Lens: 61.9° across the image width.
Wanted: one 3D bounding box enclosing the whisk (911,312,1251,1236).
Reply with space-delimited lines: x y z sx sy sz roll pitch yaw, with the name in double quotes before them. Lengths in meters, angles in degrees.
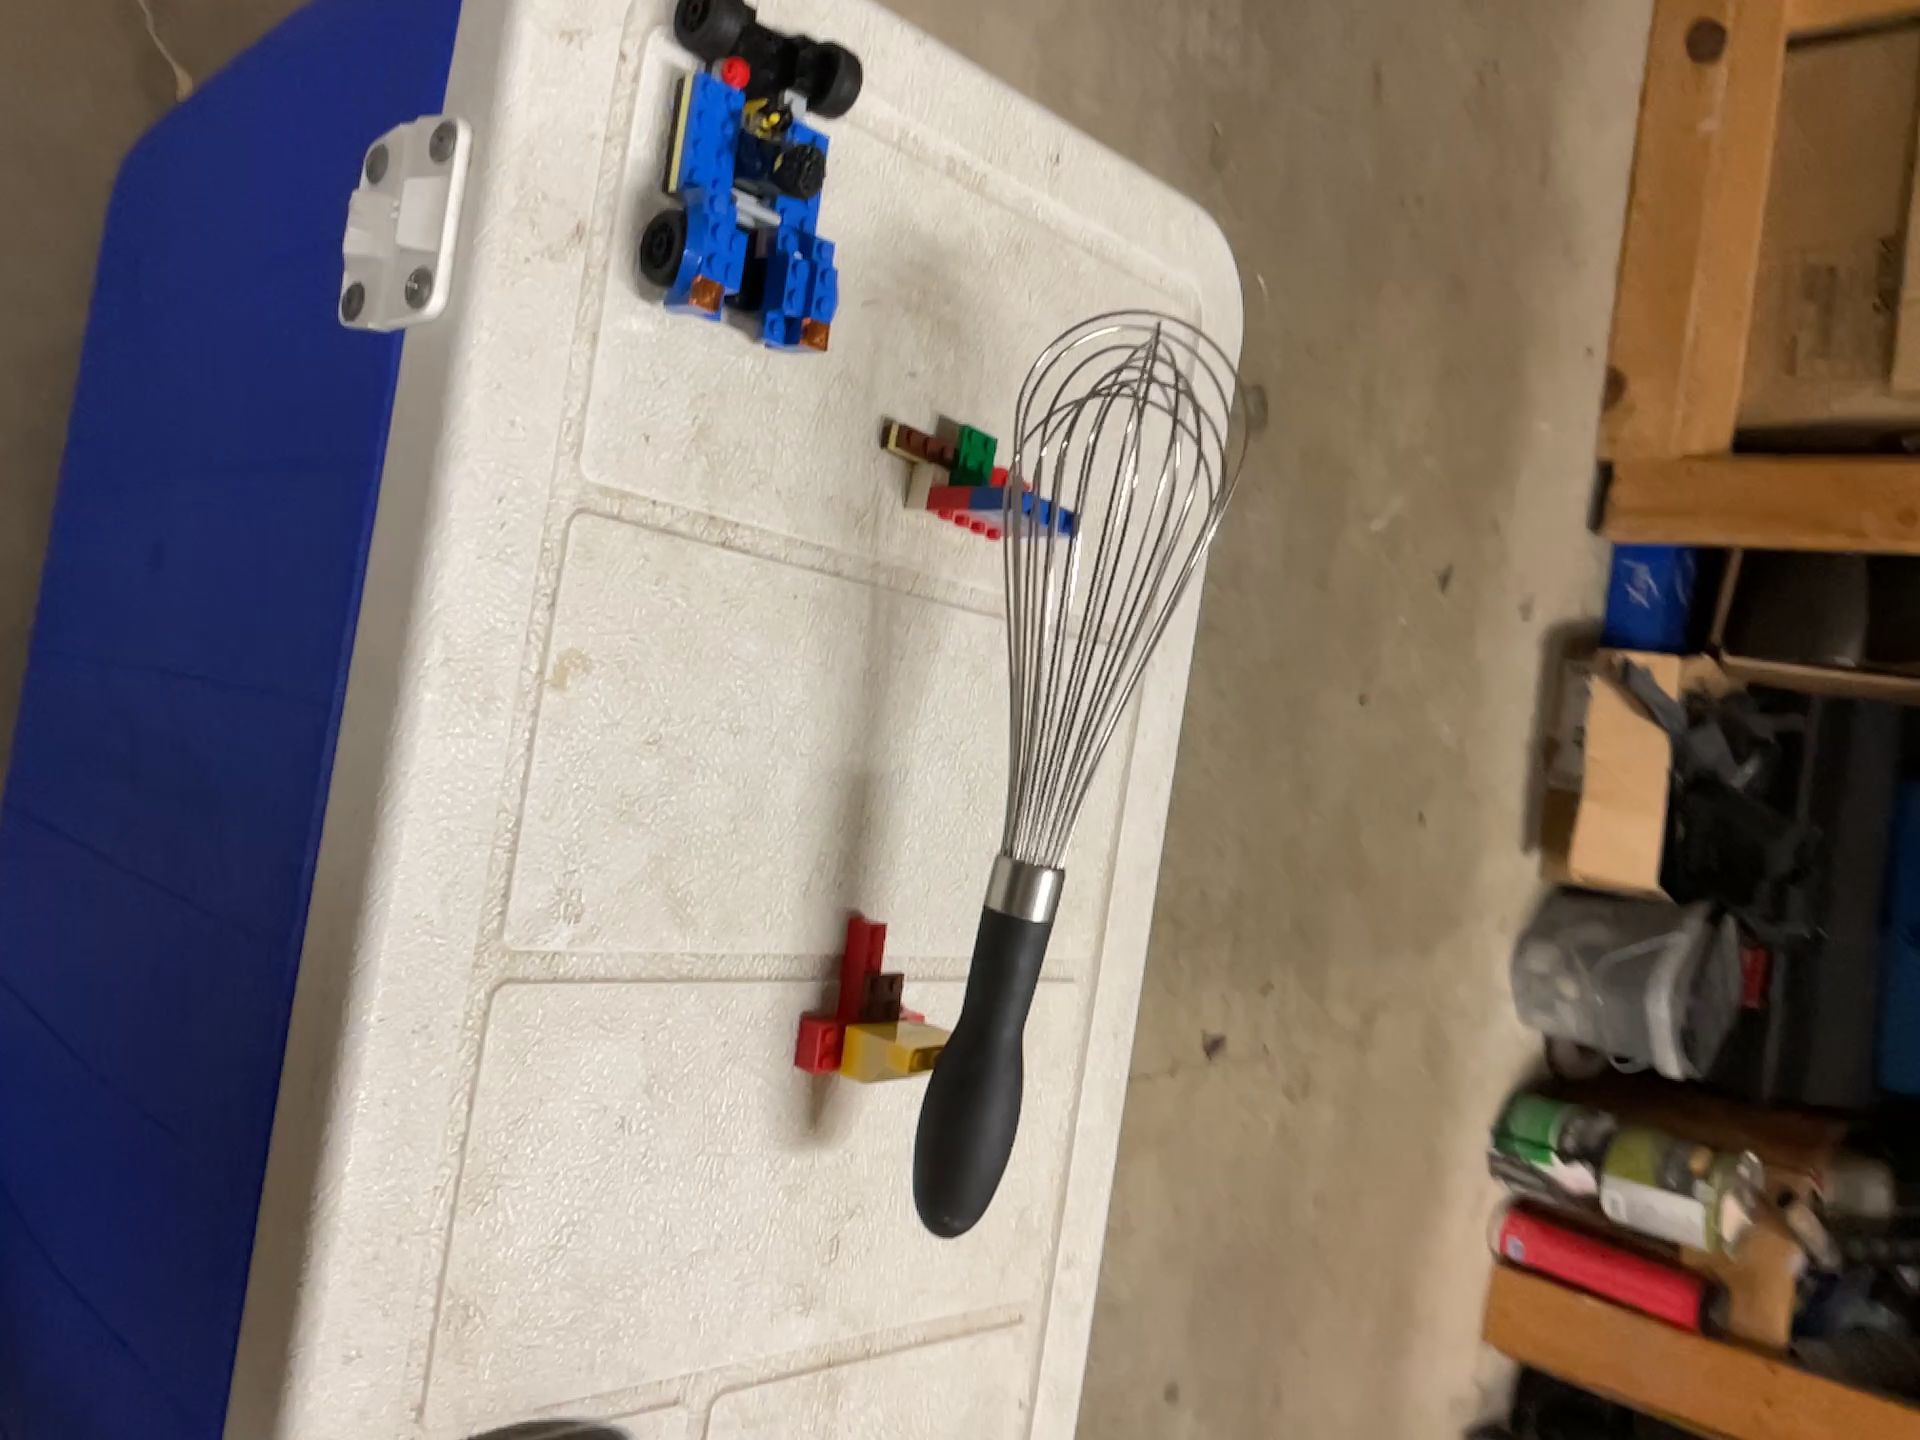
"whisk" 0.028 0.019 0.481 0.070 0.070 0.284 8 96 -52
